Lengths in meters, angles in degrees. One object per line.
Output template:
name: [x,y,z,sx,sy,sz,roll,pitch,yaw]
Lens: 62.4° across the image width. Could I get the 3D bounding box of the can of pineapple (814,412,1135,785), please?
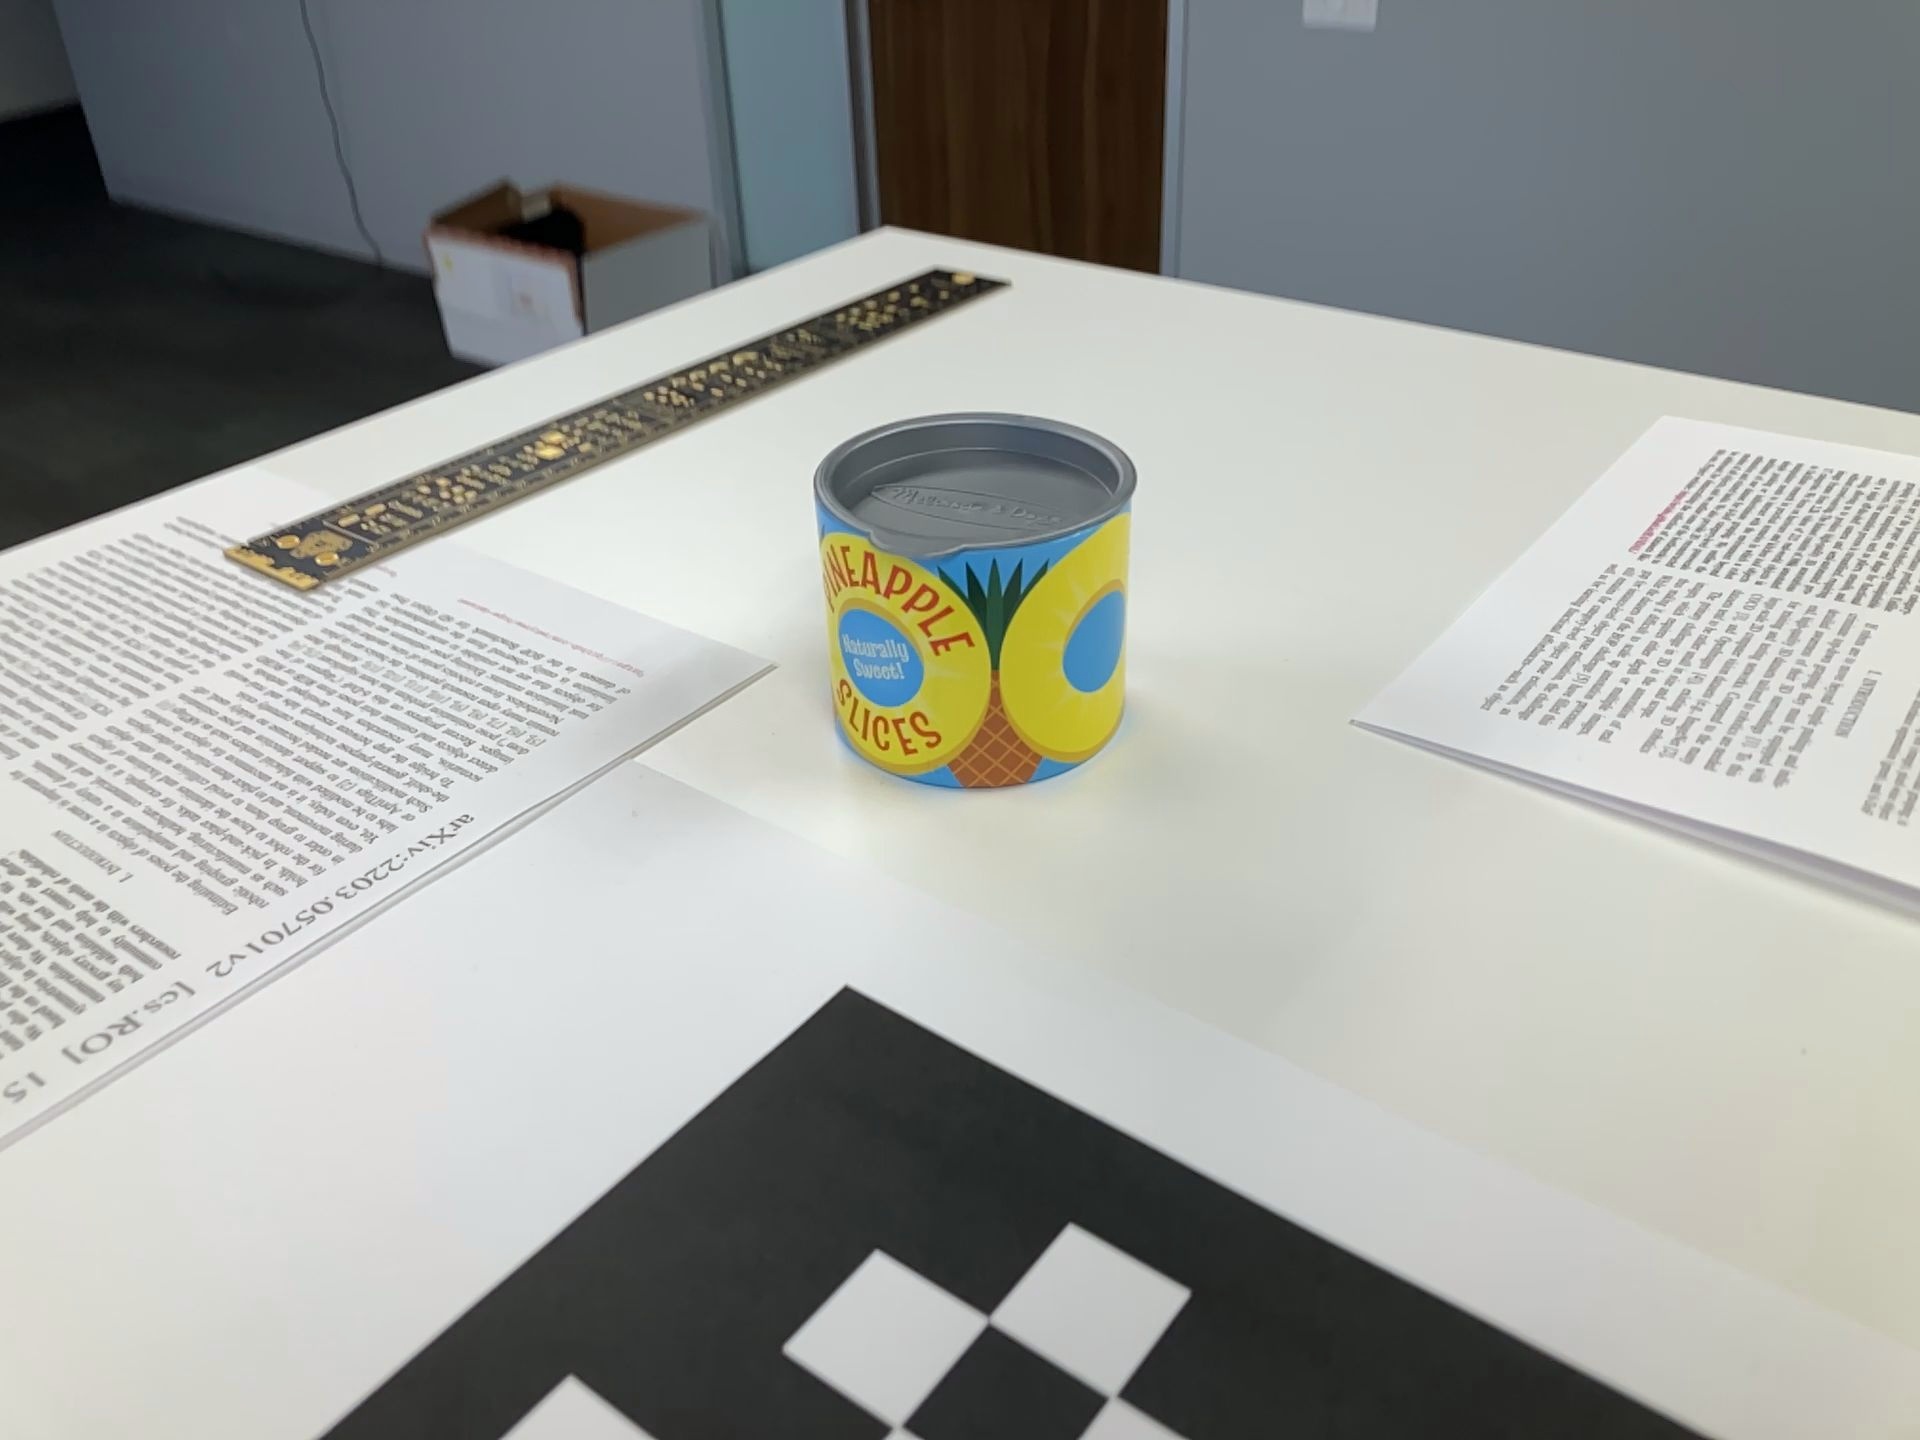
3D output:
can of pineapple: [0.002,-0.027,0.340,0.071,0.058,0.071,-2,32,1]
